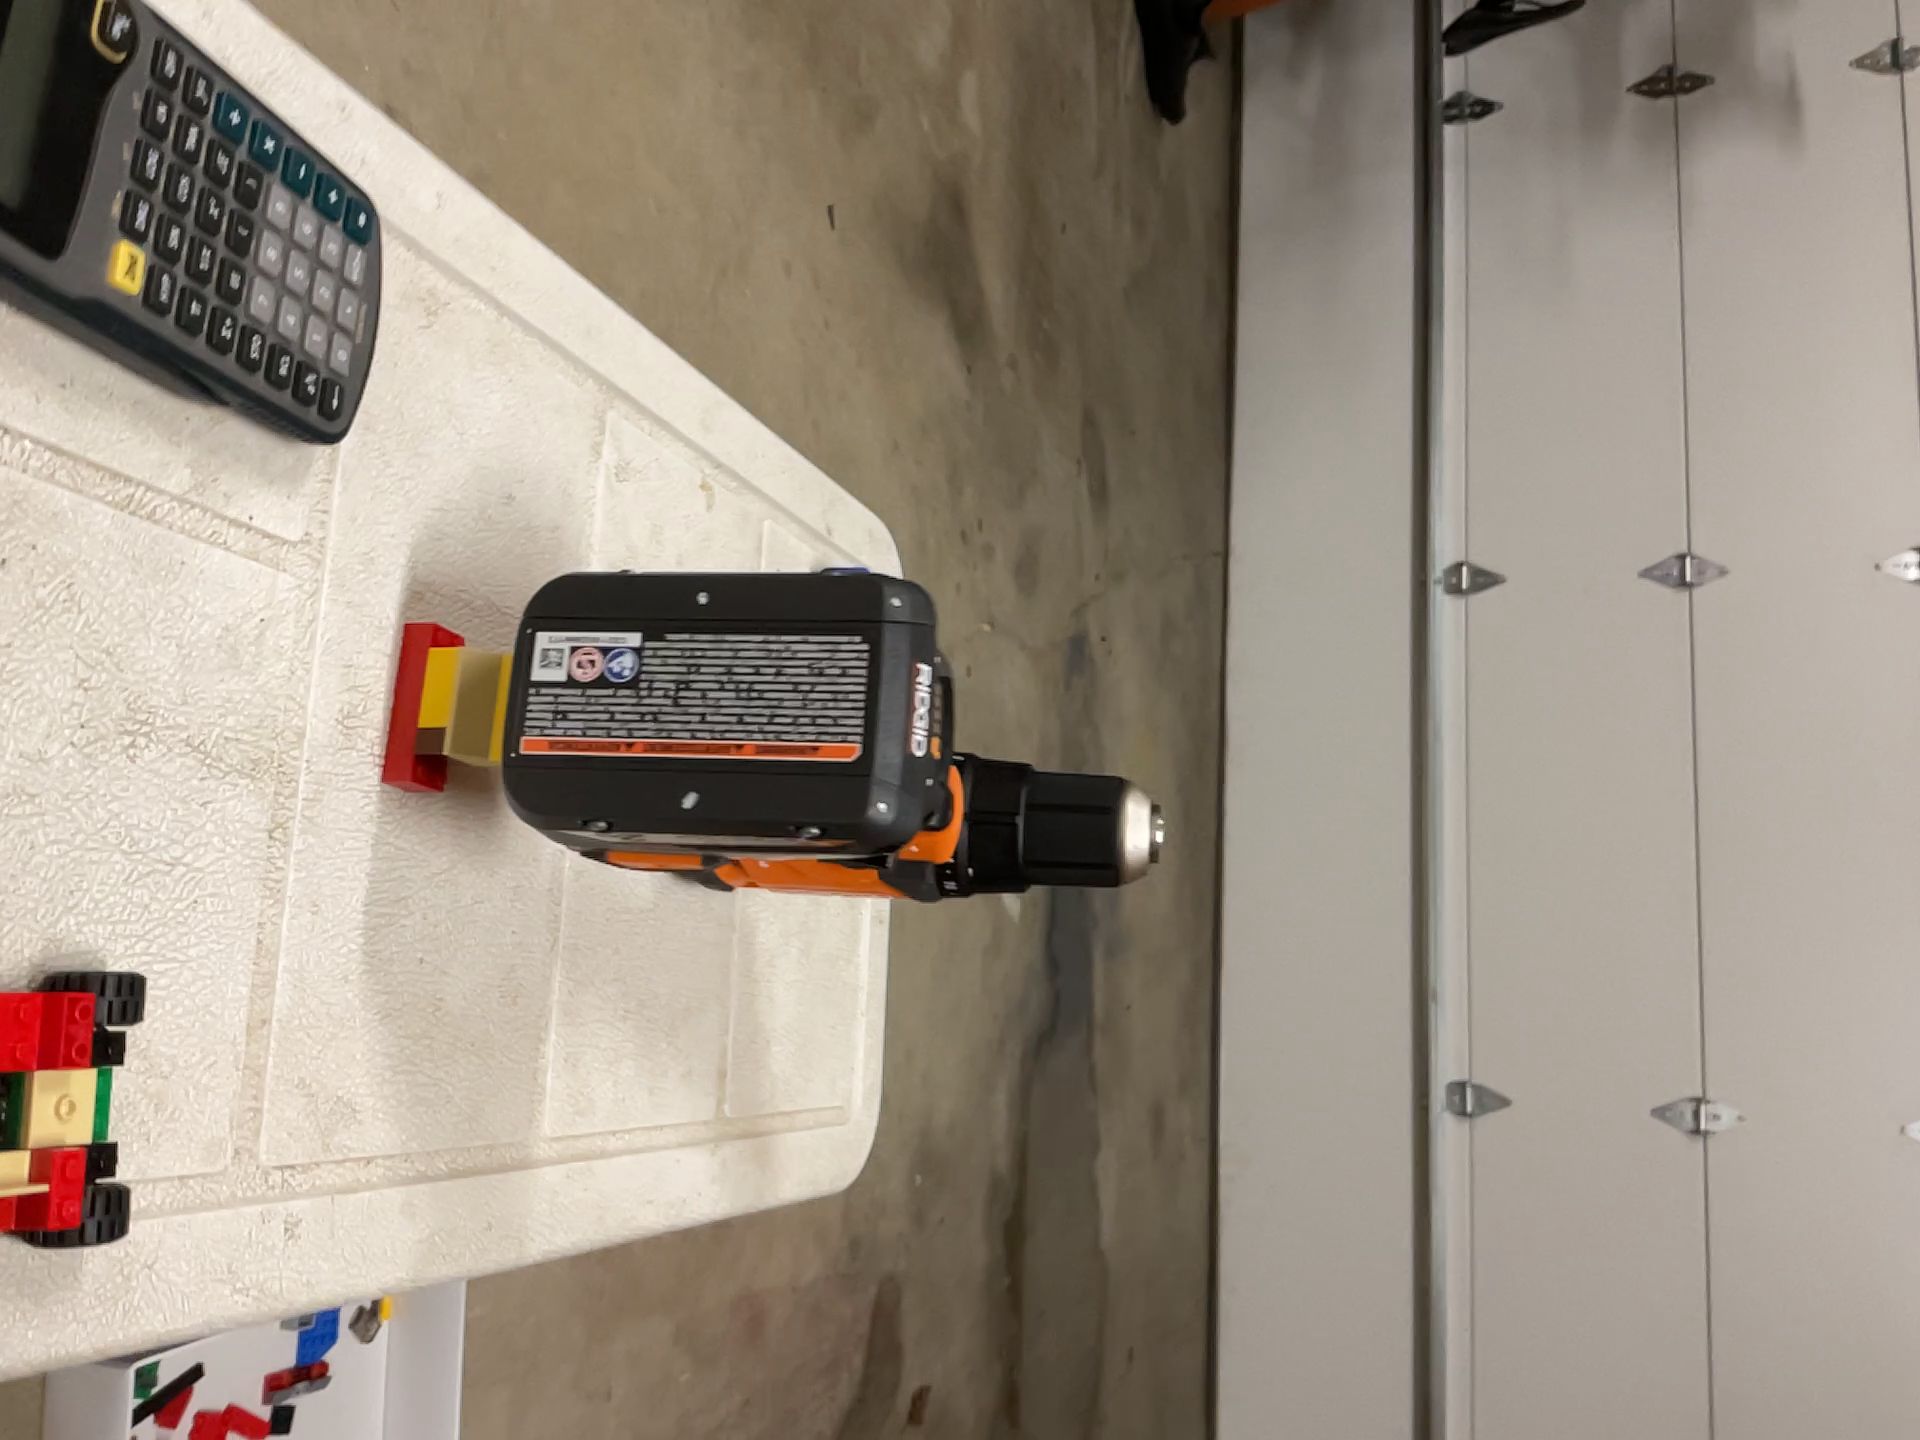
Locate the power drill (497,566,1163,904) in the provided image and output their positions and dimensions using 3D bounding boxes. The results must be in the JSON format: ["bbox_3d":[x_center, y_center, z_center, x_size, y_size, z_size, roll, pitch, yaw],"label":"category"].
[{"bbox_3d":[-0.029,0.020,0.531,0.226,0.185,0.084,57,36,-73],"label":"power drill"}]
